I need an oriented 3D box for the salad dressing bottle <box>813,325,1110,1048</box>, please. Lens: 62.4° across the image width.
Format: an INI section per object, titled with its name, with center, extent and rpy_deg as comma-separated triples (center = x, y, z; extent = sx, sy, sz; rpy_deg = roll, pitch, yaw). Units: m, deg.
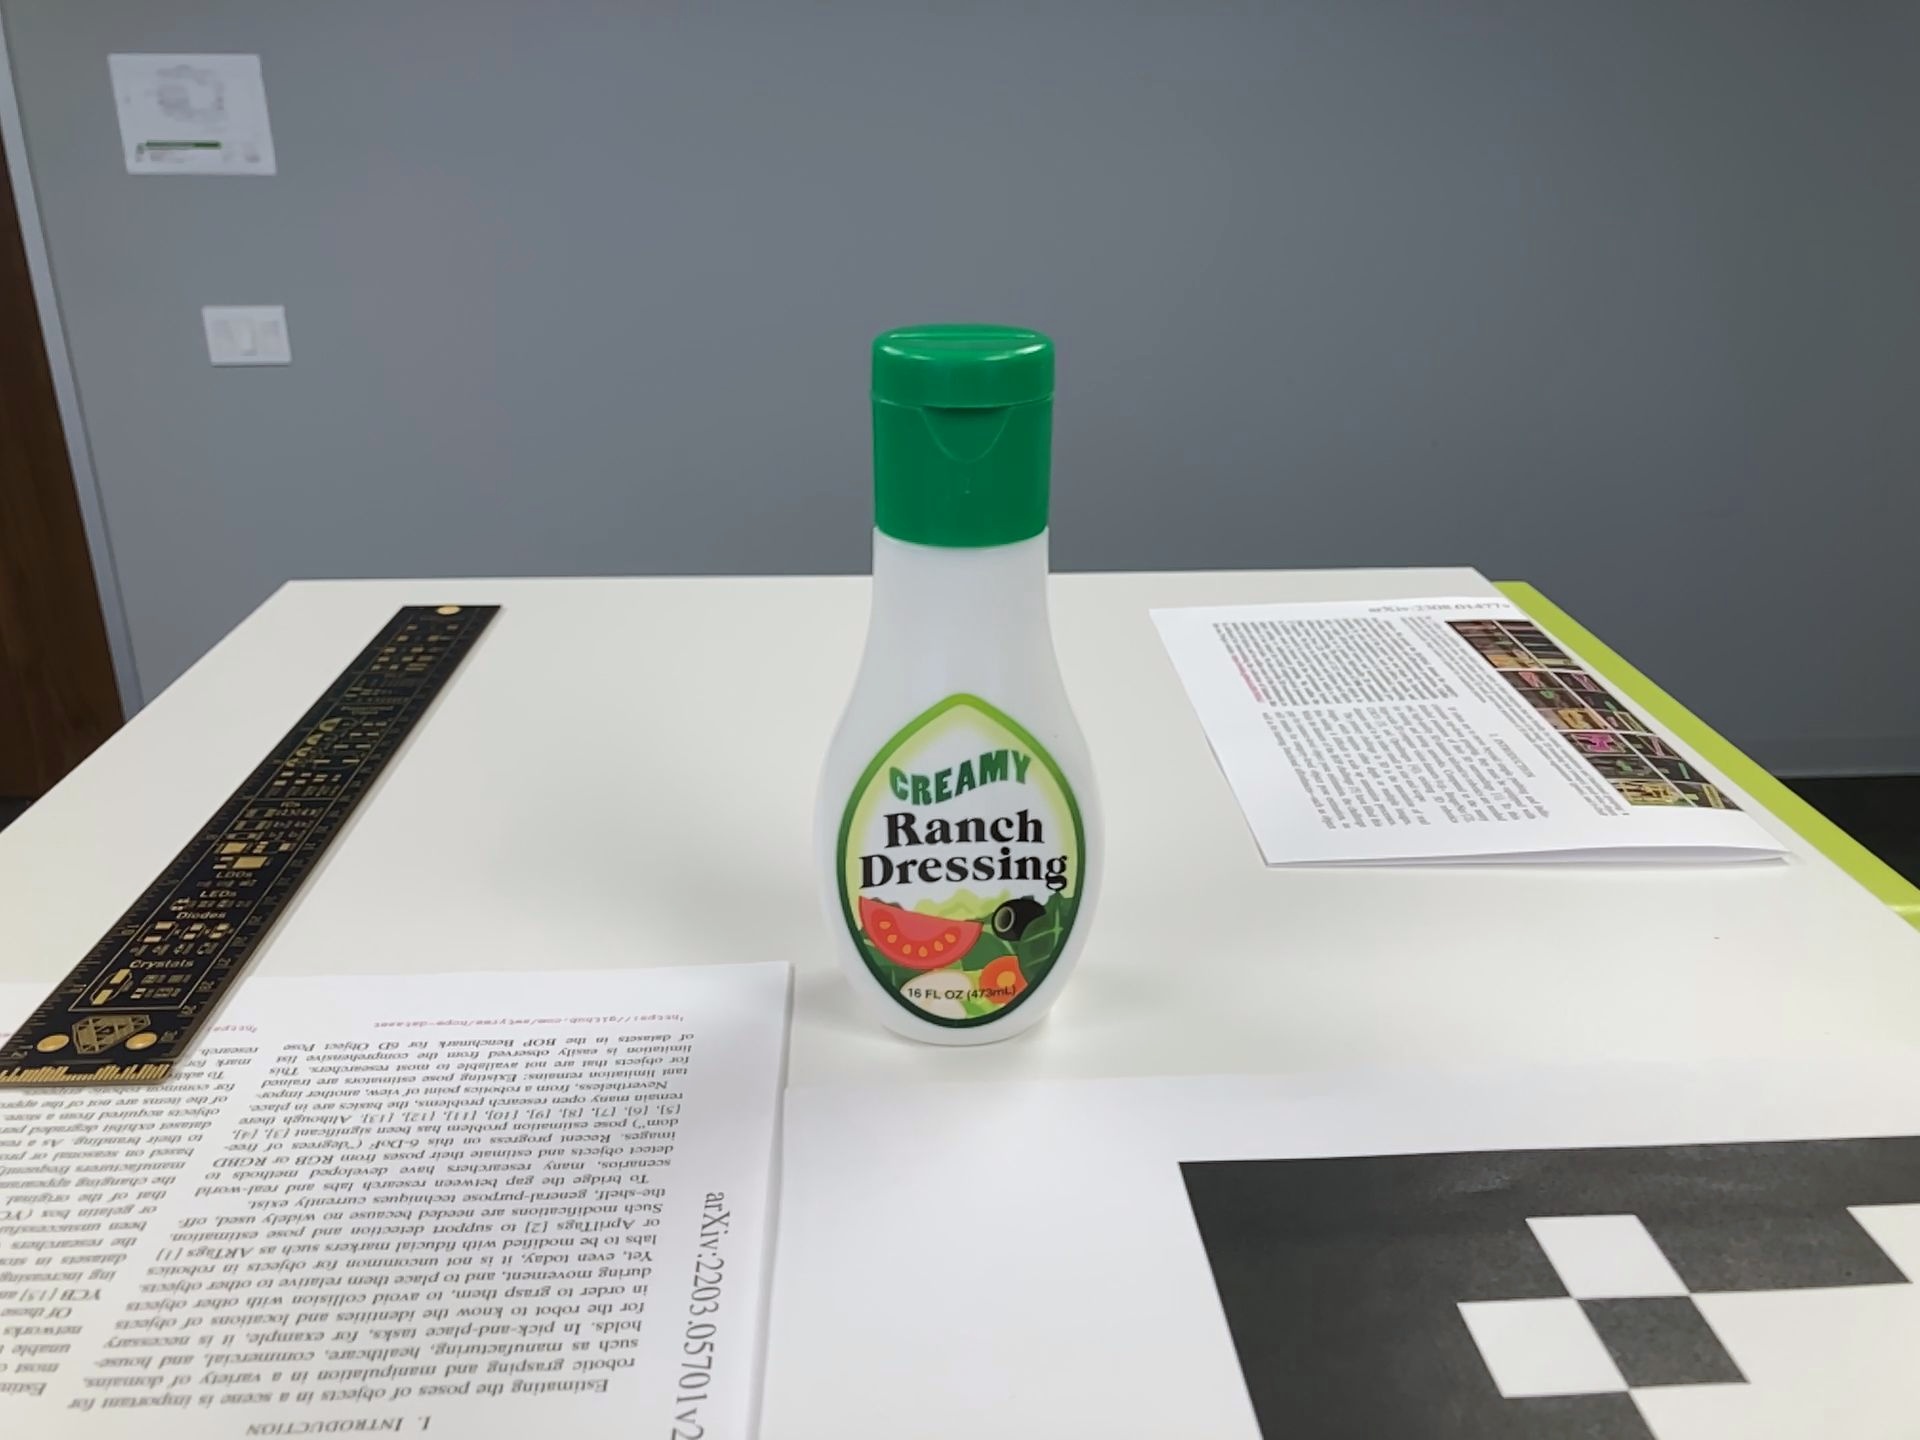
[salad dressing bottle]
center = 0.000, -0.005, 0.332
extent = 0.064, 0.147, 0.044
rpy_deg = -1, 21, -2
